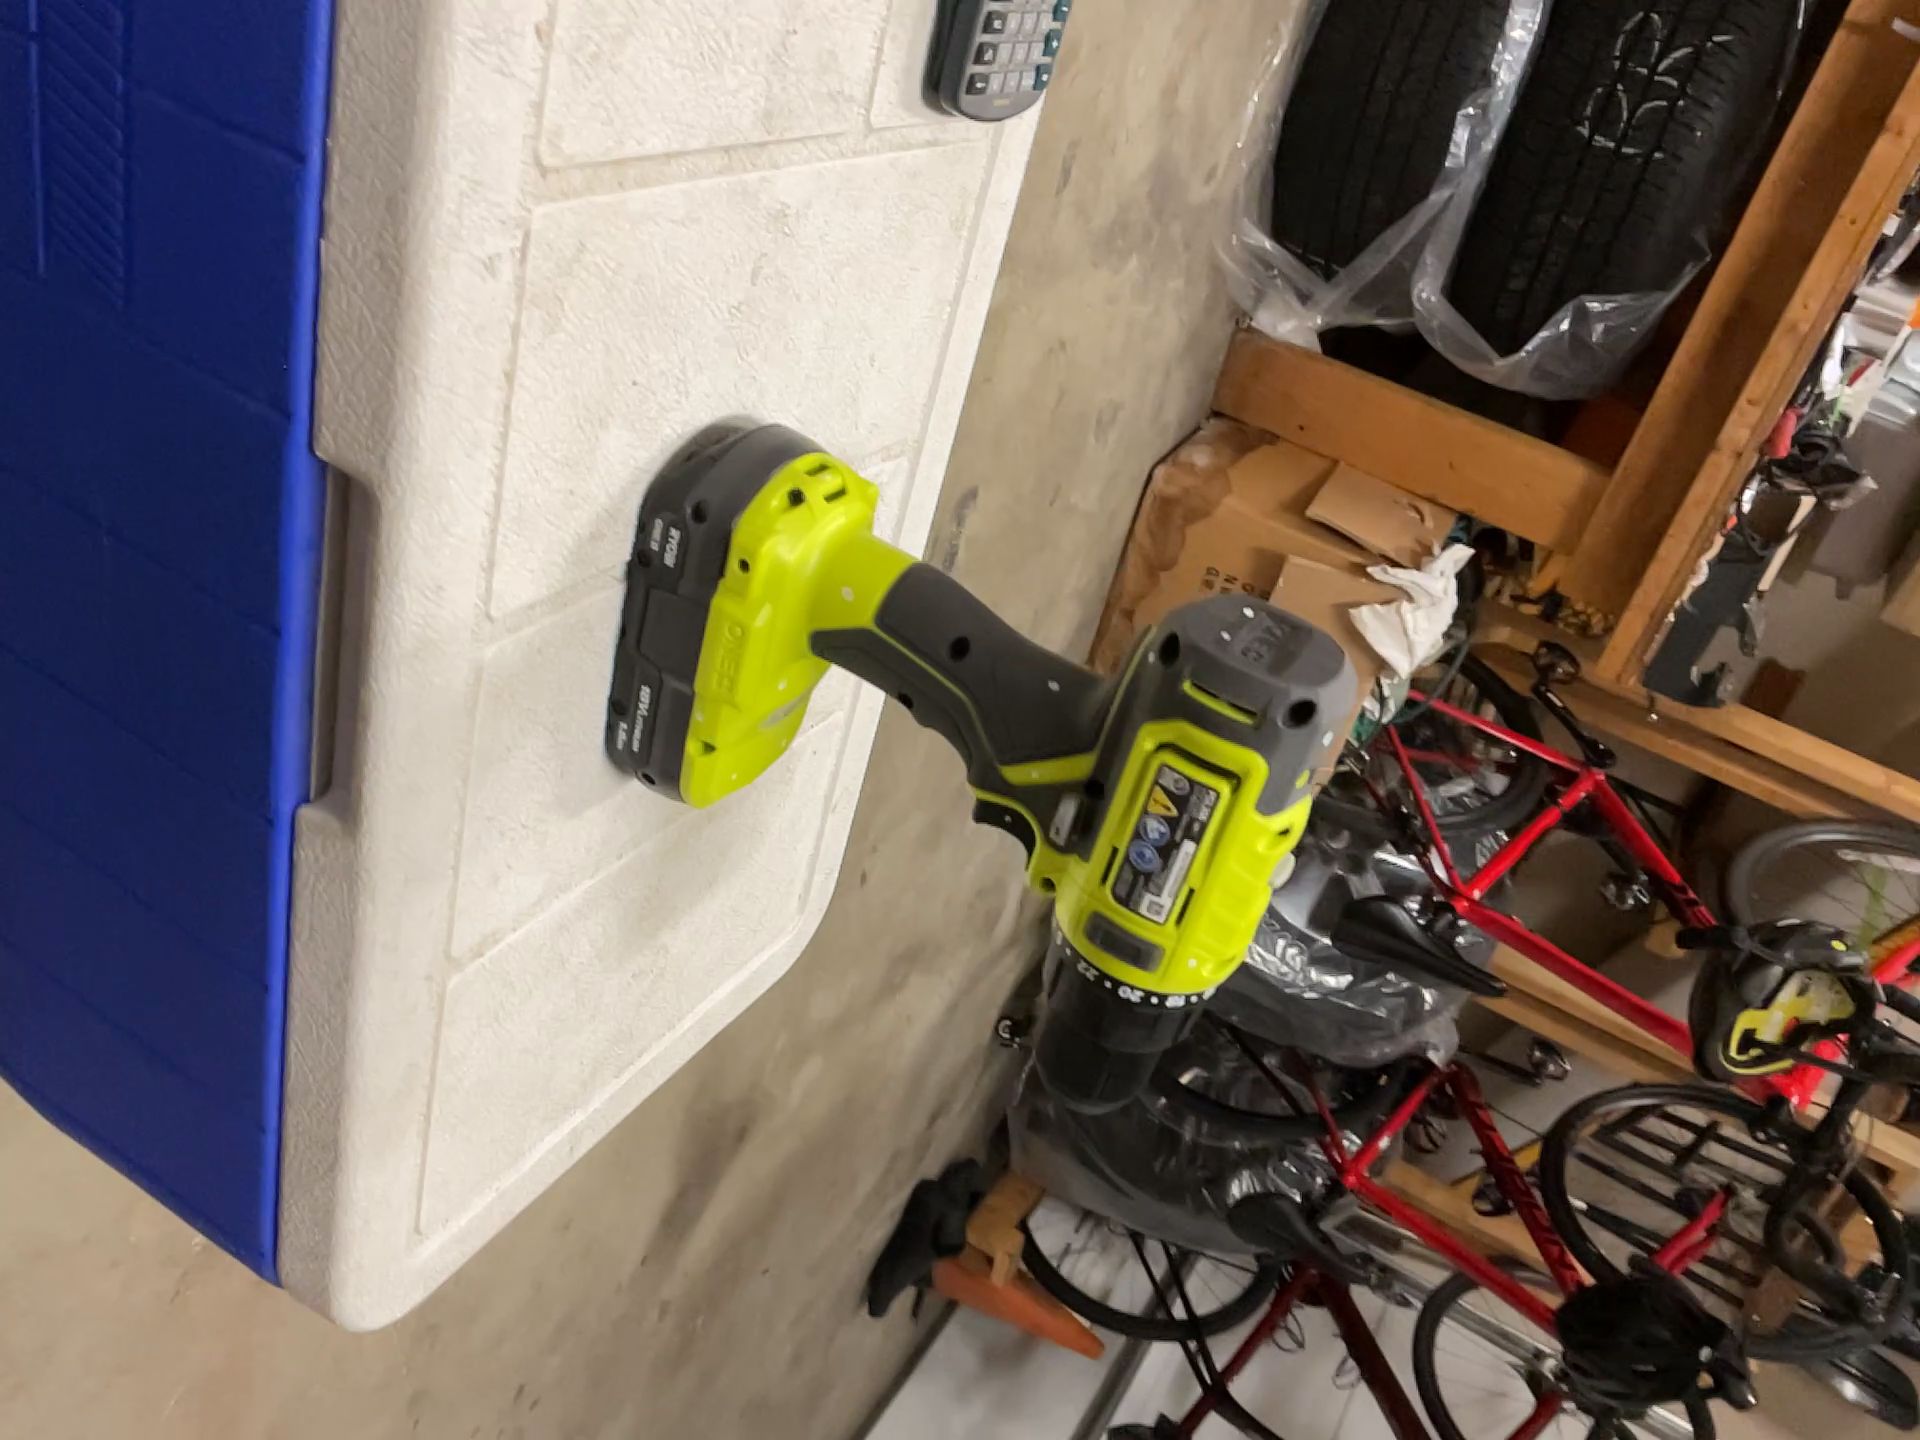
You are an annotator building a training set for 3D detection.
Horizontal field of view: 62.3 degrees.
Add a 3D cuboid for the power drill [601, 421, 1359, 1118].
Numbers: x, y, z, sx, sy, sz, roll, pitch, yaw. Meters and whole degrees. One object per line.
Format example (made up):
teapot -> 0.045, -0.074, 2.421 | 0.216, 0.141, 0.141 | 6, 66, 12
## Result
power drill -> -0.003, 0.017, 0.531 | 0.080, 0.228, 0.190 | -39, 152, -54
